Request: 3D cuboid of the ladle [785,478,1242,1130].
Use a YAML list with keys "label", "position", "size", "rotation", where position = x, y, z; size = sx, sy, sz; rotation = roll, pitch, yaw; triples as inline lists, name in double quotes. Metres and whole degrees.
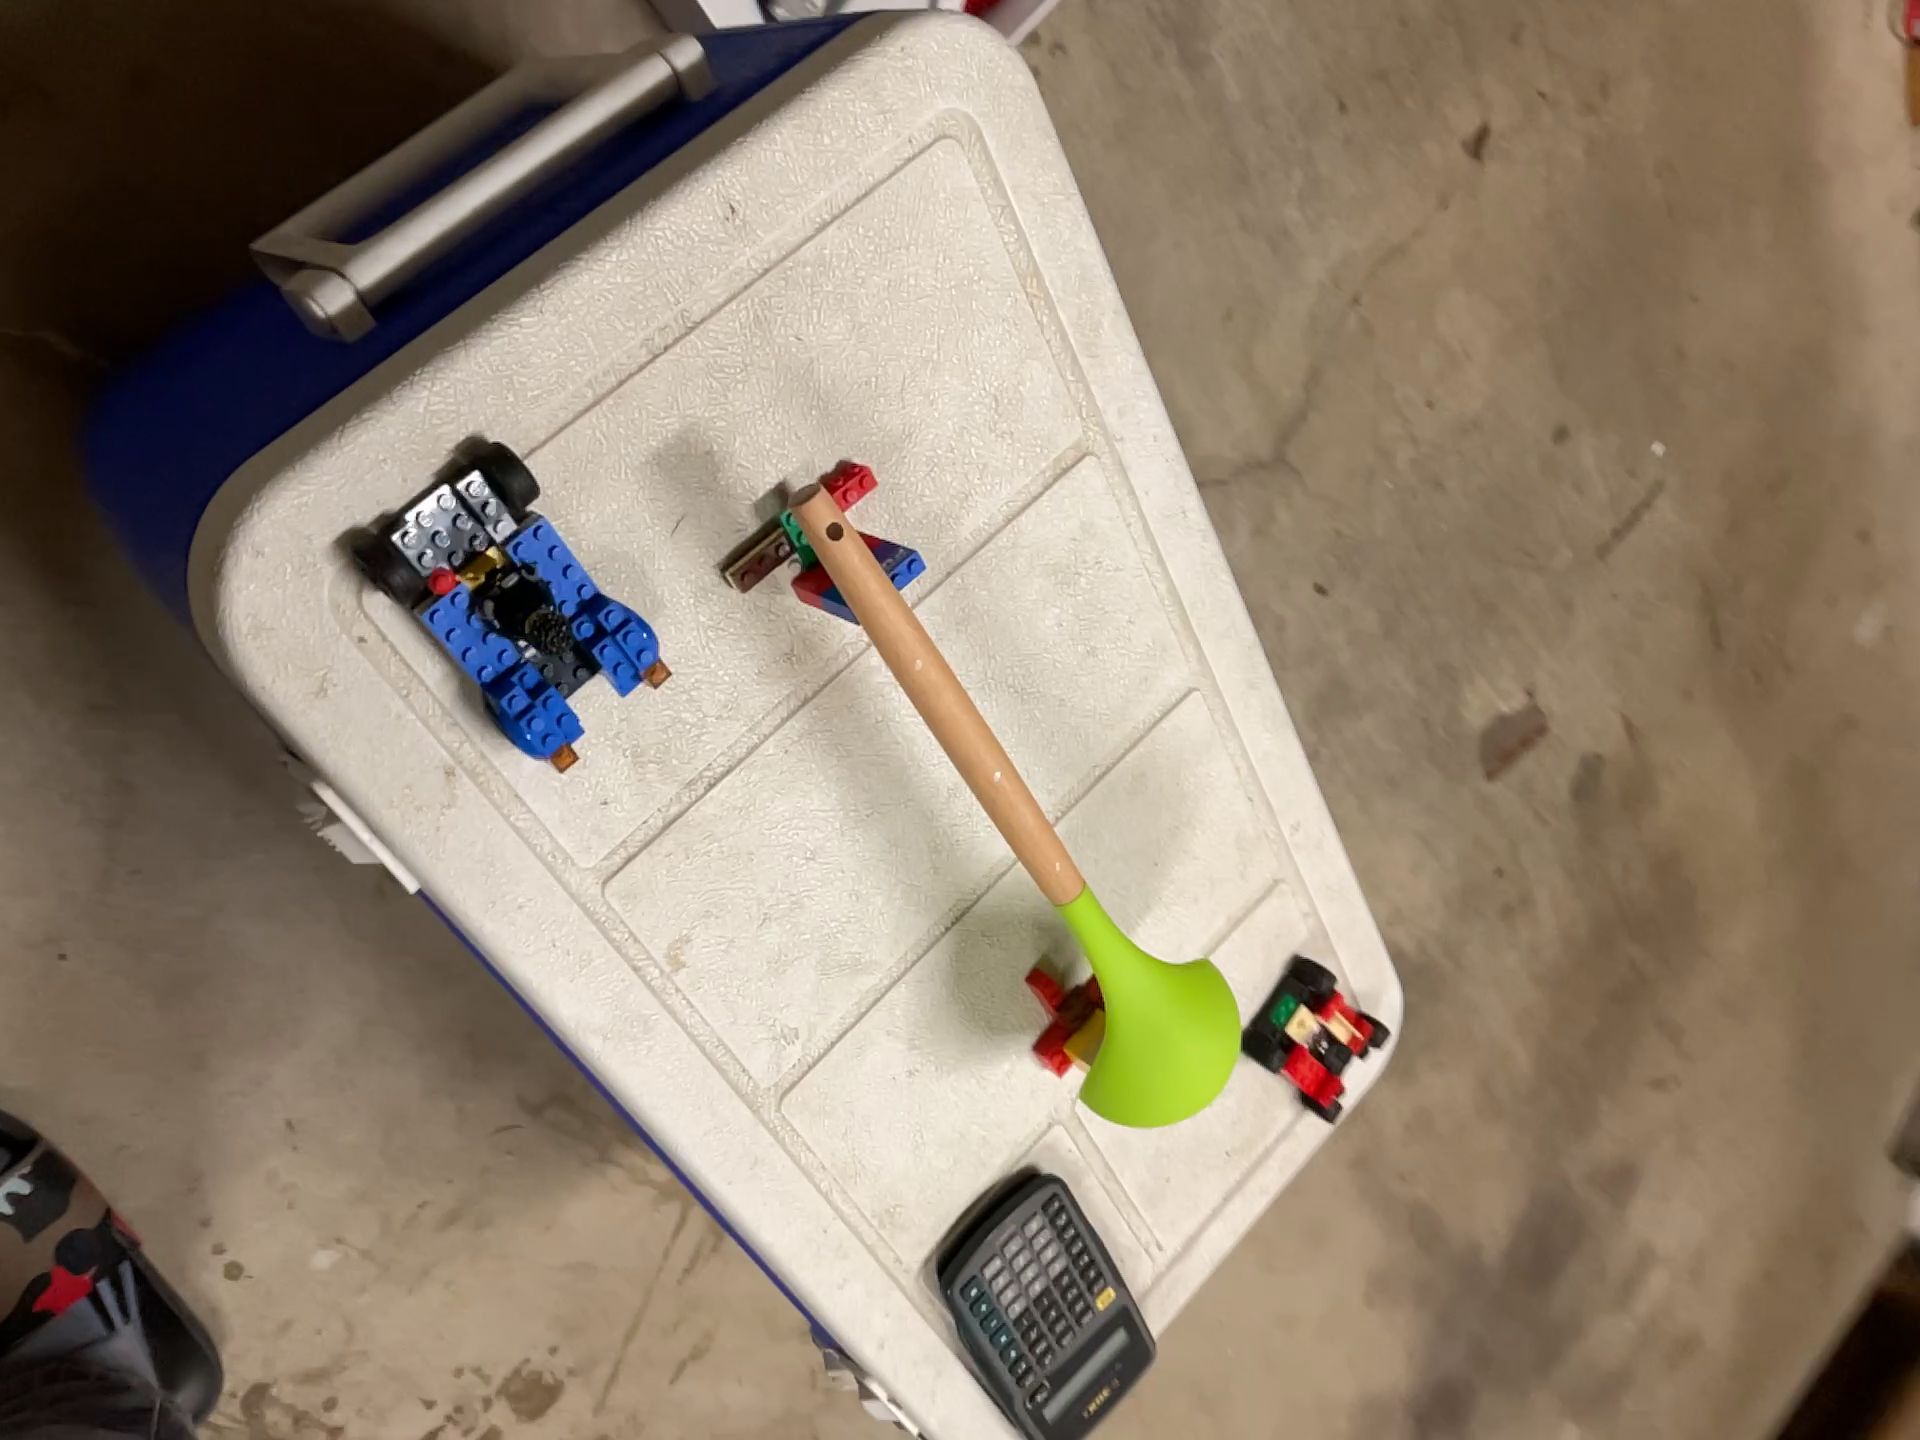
- label: "ladle"
  position: [0.021, 0.041, 0.585]
  size: [0.078, 0.062, 0.320]
  rotation: [-41, 120, -12]
